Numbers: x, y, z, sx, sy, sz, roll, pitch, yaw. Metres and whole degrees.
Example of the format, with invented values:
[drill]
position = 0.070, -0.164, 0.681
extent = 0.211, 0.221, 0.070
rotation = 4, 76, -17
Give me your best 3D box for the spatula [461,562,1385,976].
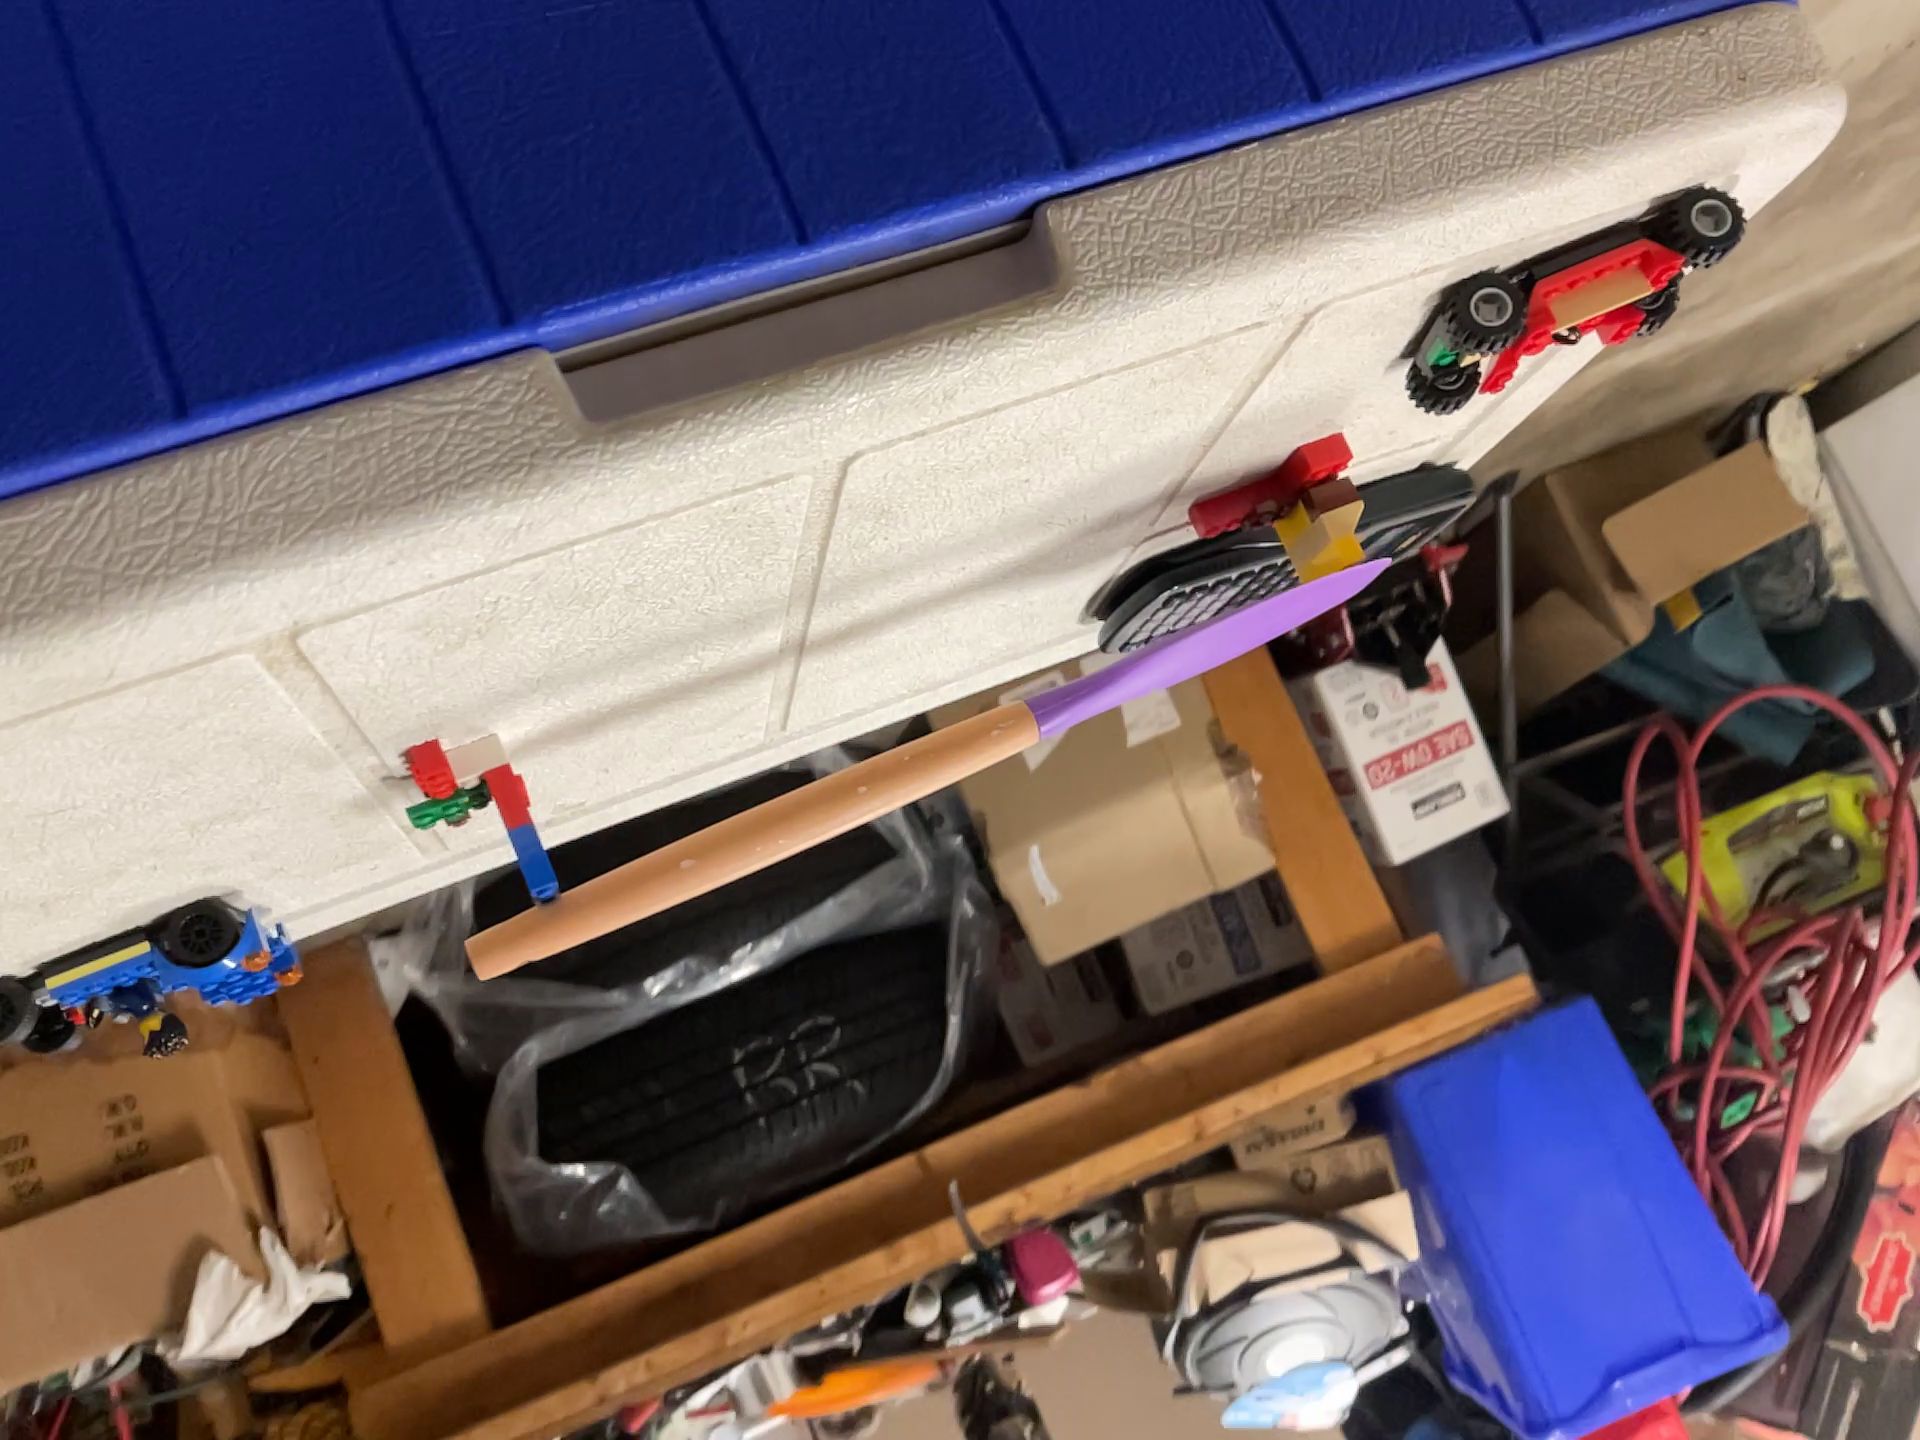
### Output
[spatula]
position = -0.002, 0.009, 0.501
extent = 0.316, 0.018, 0.059
rotation = -23, 170, -13
